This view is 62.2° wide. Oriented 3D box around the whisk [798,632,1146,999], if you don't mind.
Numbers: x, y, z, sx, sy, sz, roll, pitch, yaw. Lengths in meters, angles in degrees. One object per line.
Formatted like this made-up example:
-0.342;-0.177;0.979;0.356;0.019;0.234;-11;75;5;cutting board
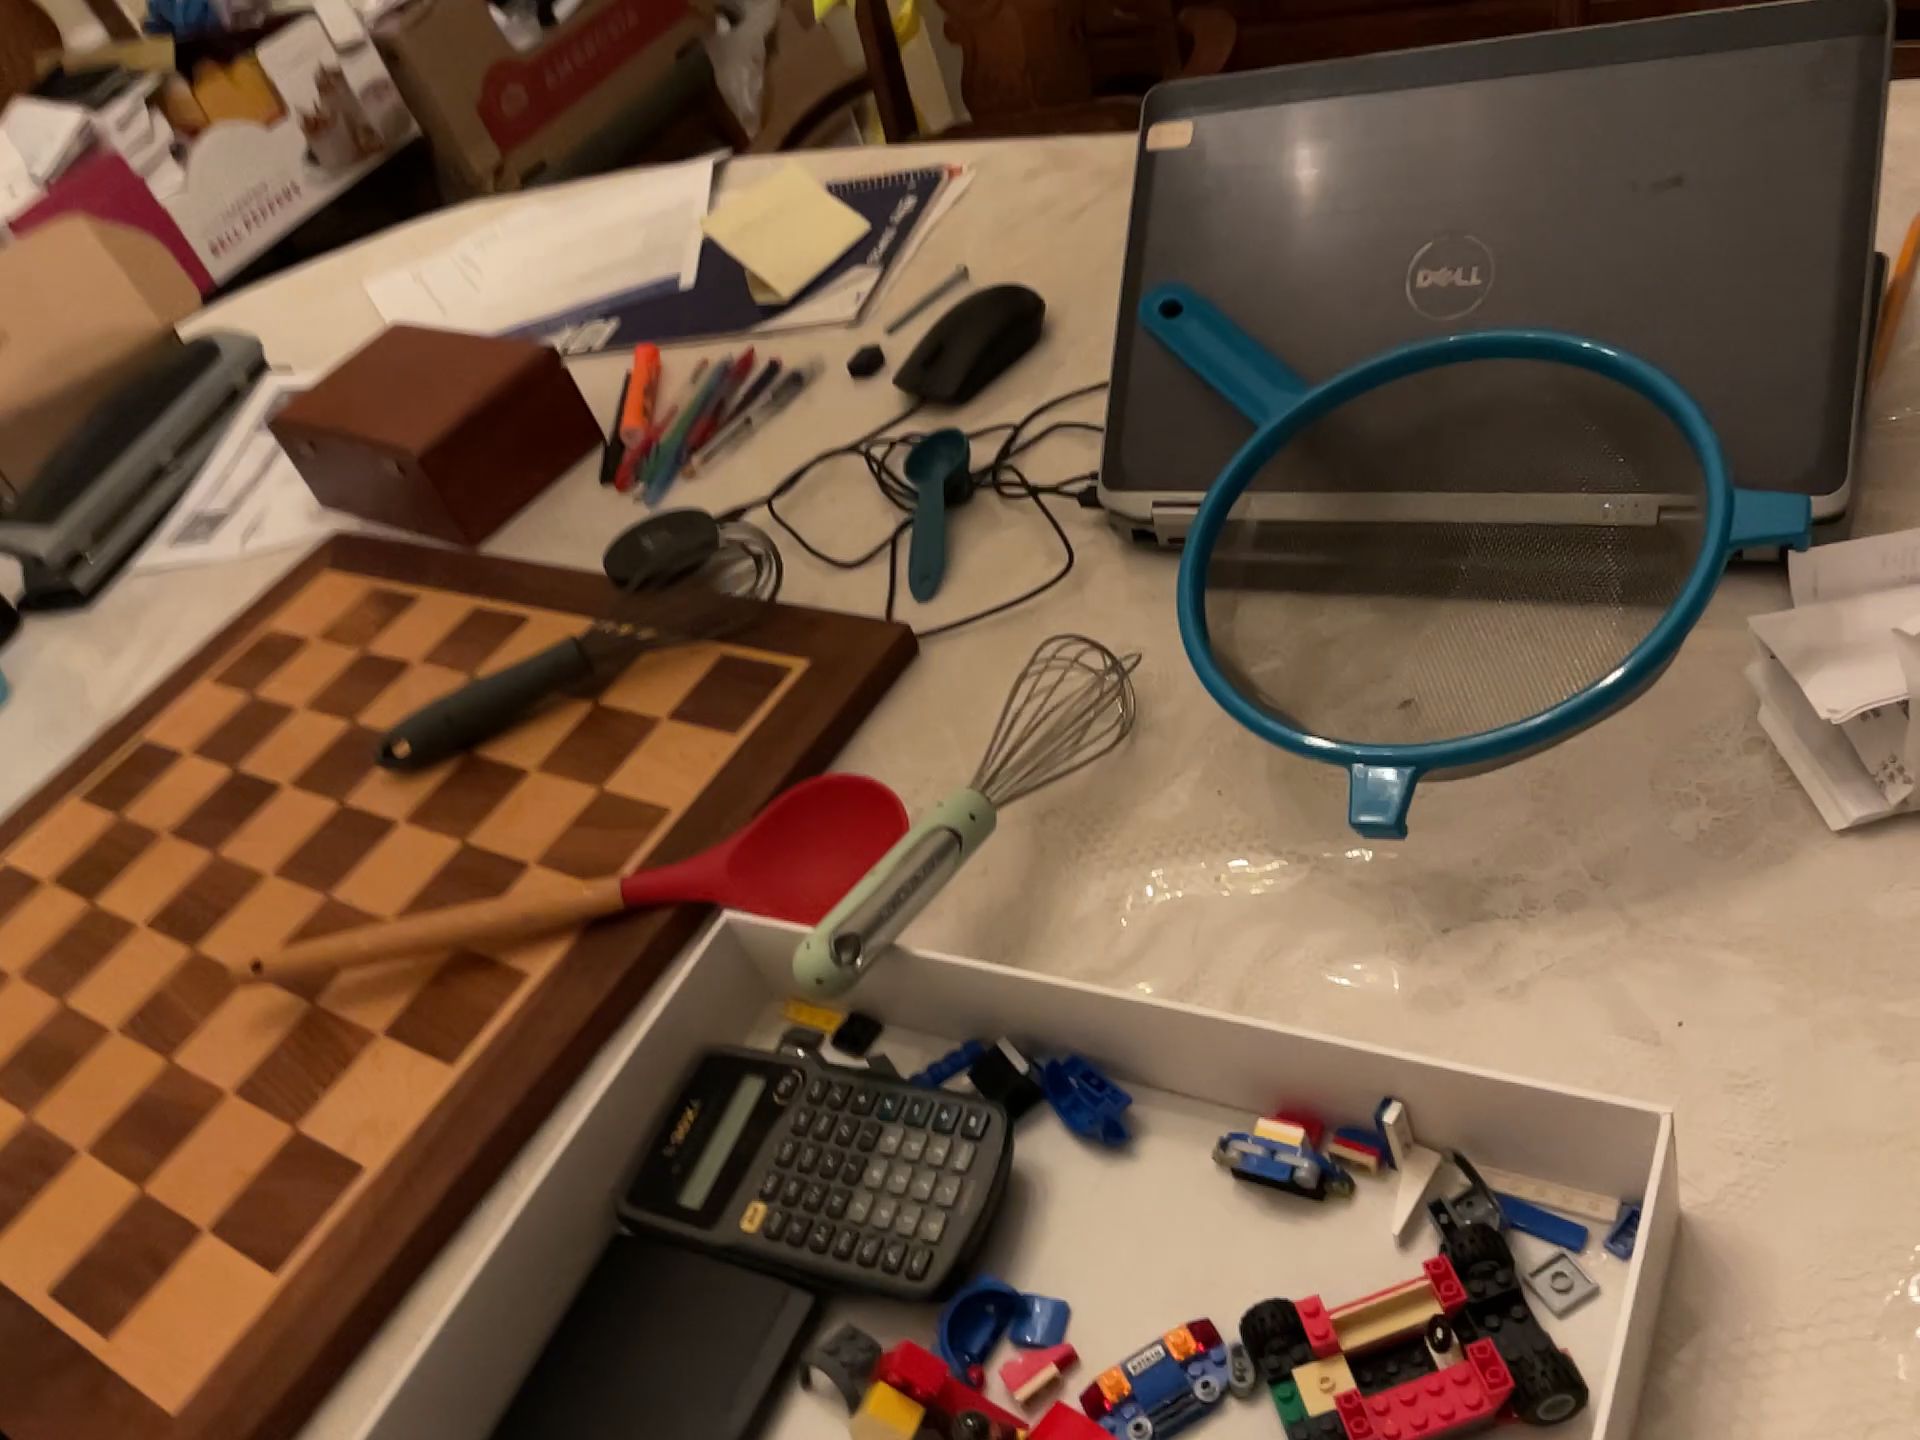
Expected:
0.011;0.032;0.650;0.059;0.058;0.246;-28;12;45;whisk

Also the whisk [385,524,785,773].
-0.198;-0.035;0.843;0.239;0.055;0.055;-29;25;0;whisk

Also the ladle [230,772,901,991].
-0.176;0.083;0.706;0.315;0.031;0.069;-13;62;6;ladle

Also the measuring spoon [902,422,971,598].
-0.011;-0.113;0.884;0.042;0.021;0.129;-15;51;22;measuring spoon

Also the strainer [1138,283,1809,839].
0.177;-0.089;0.691;0.211;0.095;0.341;-37;44;4;strainer
